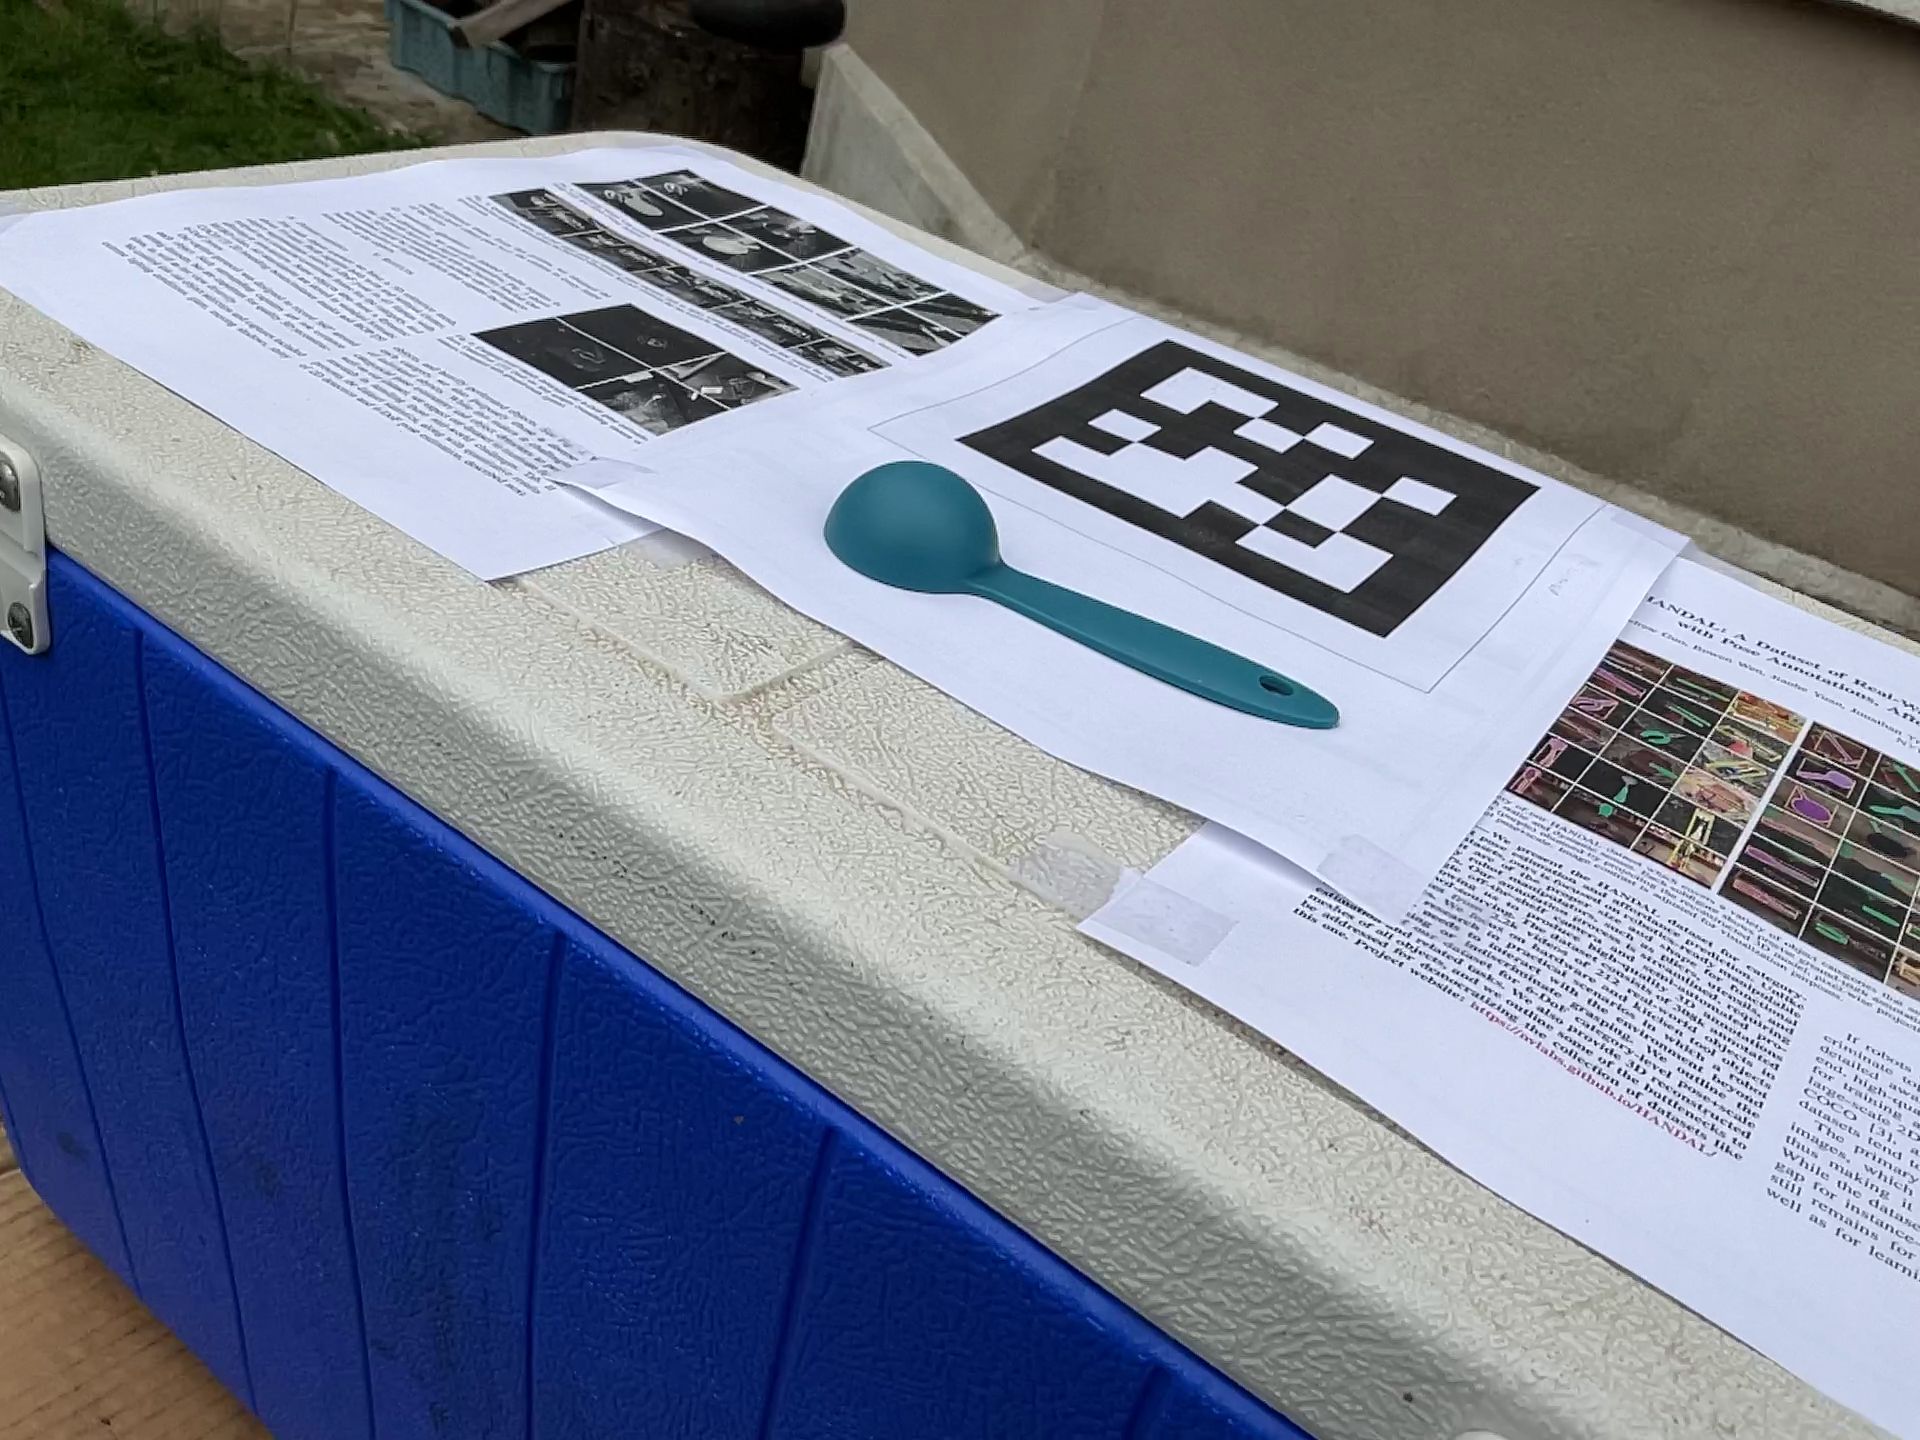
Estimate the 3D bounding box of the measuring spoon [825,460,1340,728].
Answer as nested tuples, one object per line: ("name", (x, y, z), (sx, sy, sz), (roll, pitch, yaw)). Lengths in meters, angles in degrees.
("measuring spoon", (0.029, -0.032, 0.366), (0.129, 0.021, 0.042), (24, 28, 16))
